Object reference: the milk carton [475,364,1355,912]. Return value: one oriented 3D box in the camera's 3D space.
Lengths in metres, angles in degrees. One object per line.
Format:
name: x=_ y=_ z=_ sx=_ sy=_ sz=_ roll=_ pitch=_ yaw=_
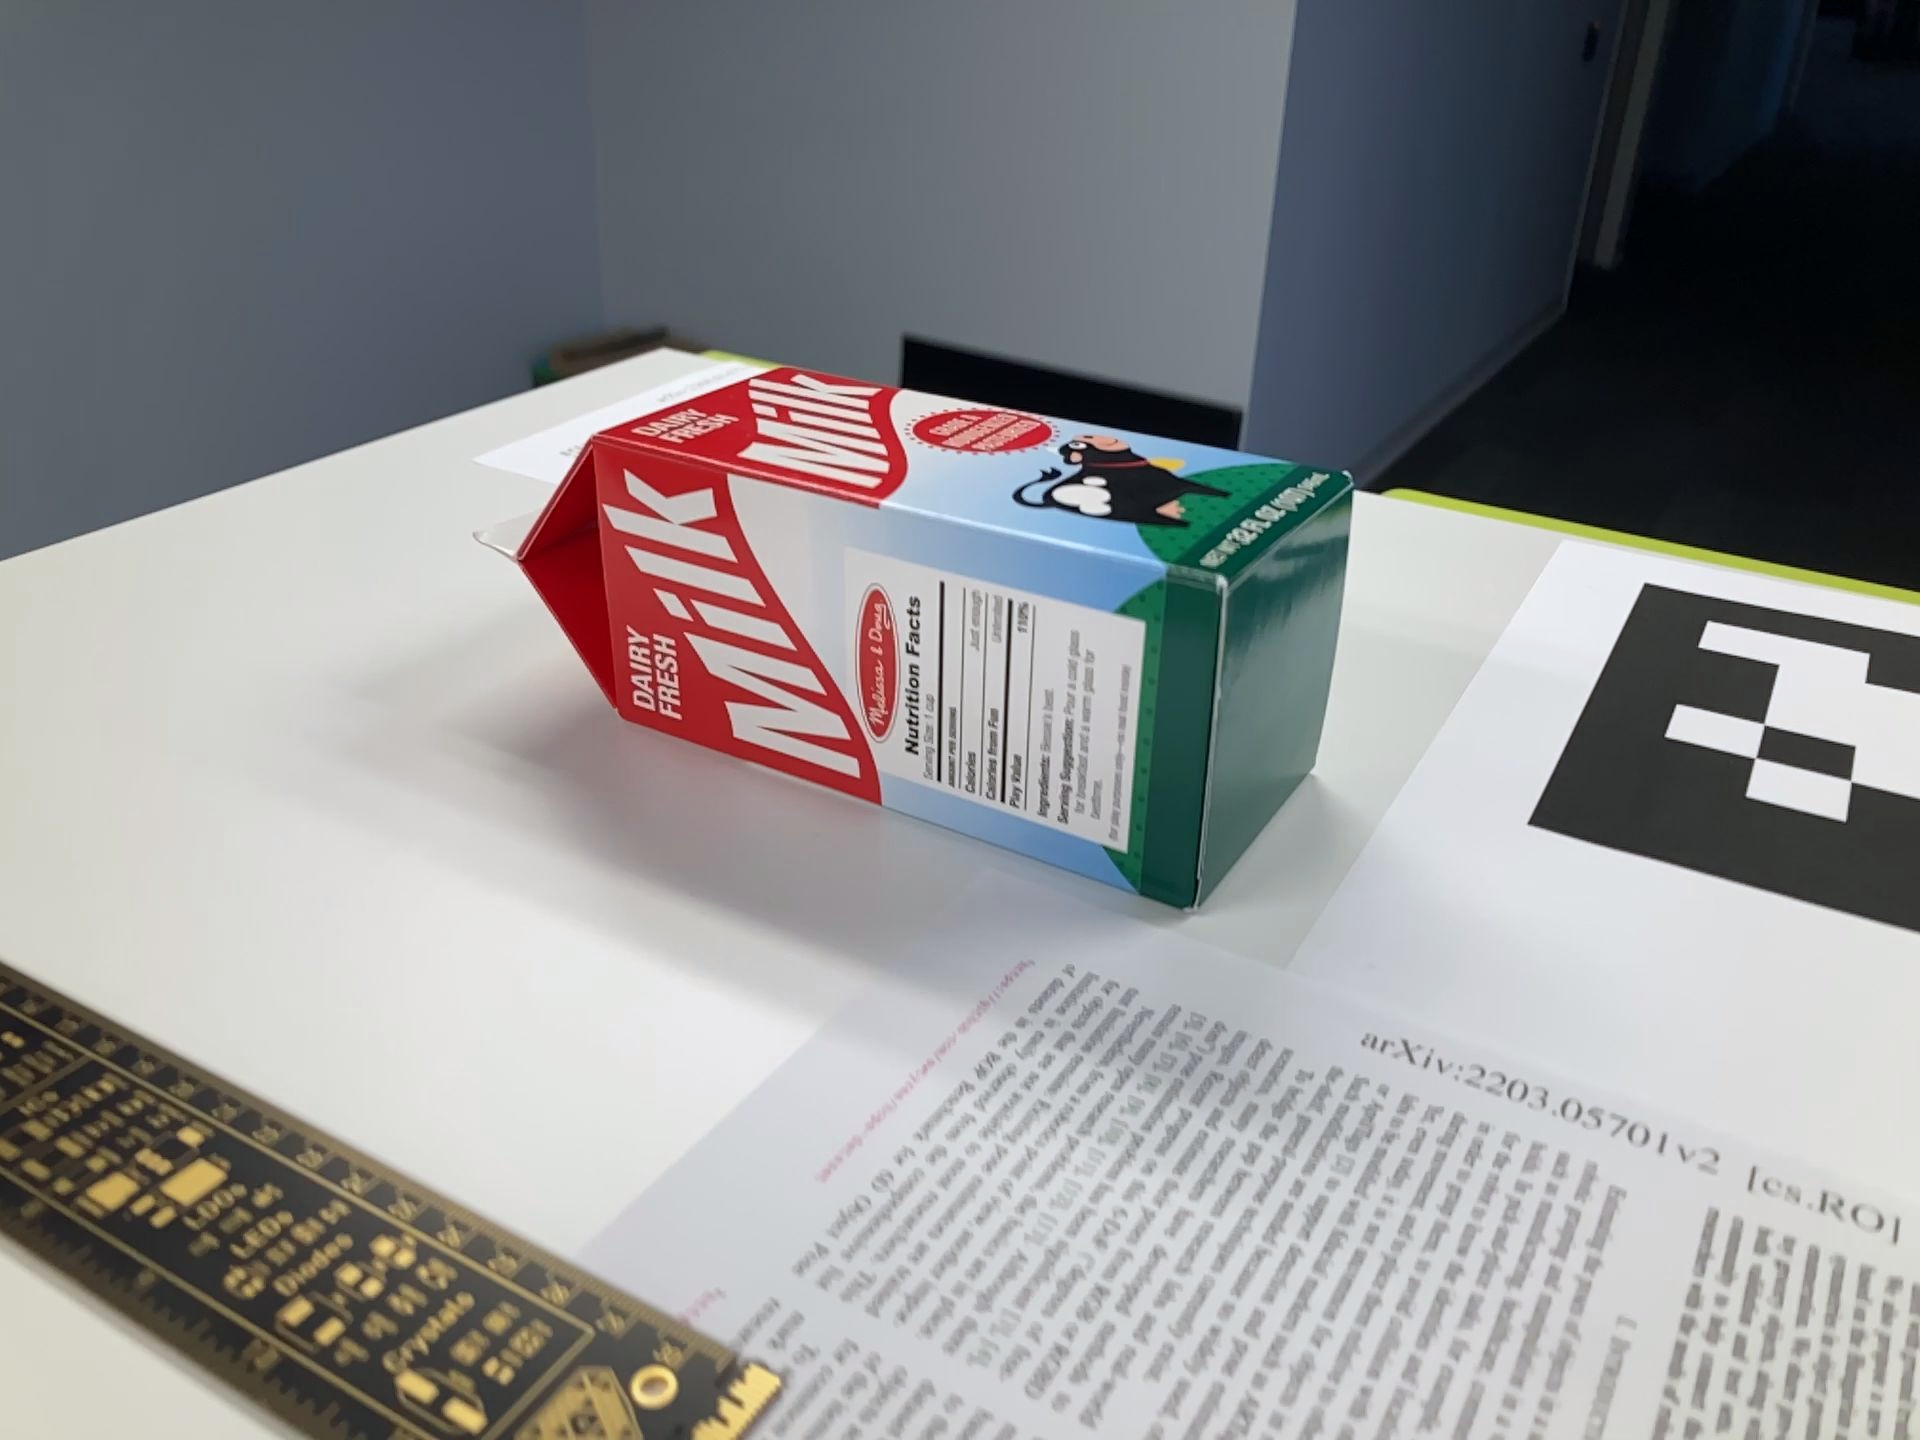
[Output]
milk carton: x=-0.017 y=-0.031 z=0.360 sx=0.190 sy=0.073 sz=0.072 roll=16 pitch=32 yaw=26
